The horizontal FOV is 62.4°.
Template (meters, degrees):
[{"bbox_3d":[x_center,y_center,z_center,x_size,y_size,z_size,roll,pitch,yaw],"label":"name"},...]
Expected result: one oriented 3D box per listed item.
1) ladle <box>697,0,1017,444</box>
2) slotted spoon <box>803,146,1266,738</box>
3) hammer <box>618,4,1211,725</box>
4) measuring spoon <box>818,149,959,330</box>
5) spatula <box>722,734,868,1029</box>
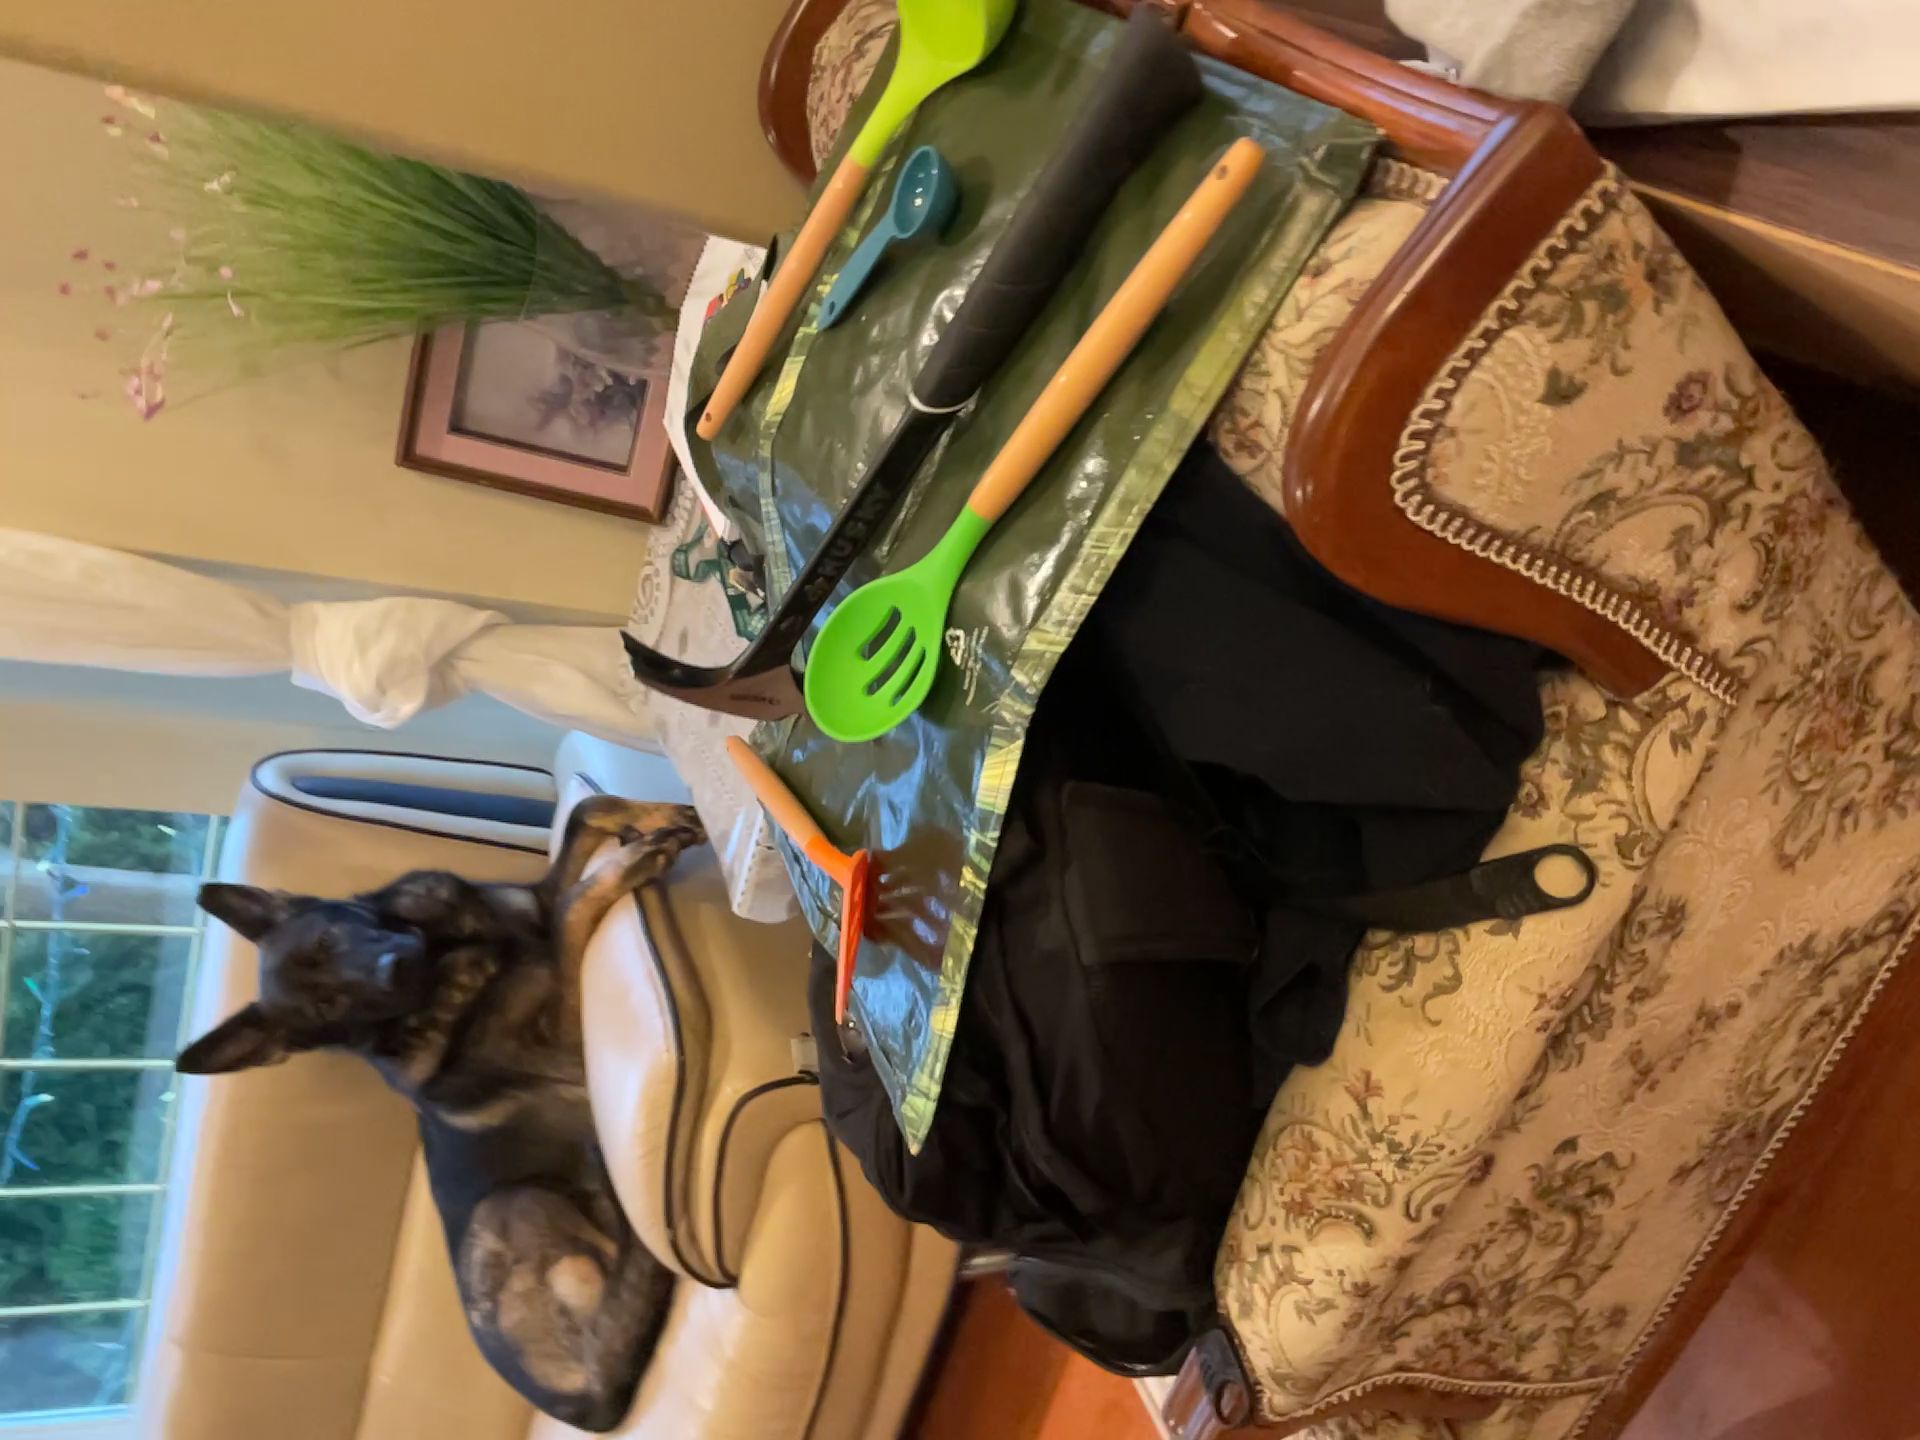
[{"bbox_3d":[-0.070,-0.261,0.806,0.078,0.062,0.320,53,127,18],"label":"ladle"},{"bbox_3d":[0.025,-0.106,0.670,0.314,0.031,0.070,-51,57,31],"label":"slotted spoon"},{"bbox_3d":[-0.020,-0.139,0.731,0.409,0.149,0.036,-52,50,34],"label":"hammer"},{"bbox_3d":[-0.034,-0.227,0.776,0.128,0.021,0.042,-36,52,52],"label":"measuring spoon"},{"bbox_3d":[-0.098,0.064,0.899,0.323,0.041,0.081,-141,54,-61],"label":"spatula"}]
